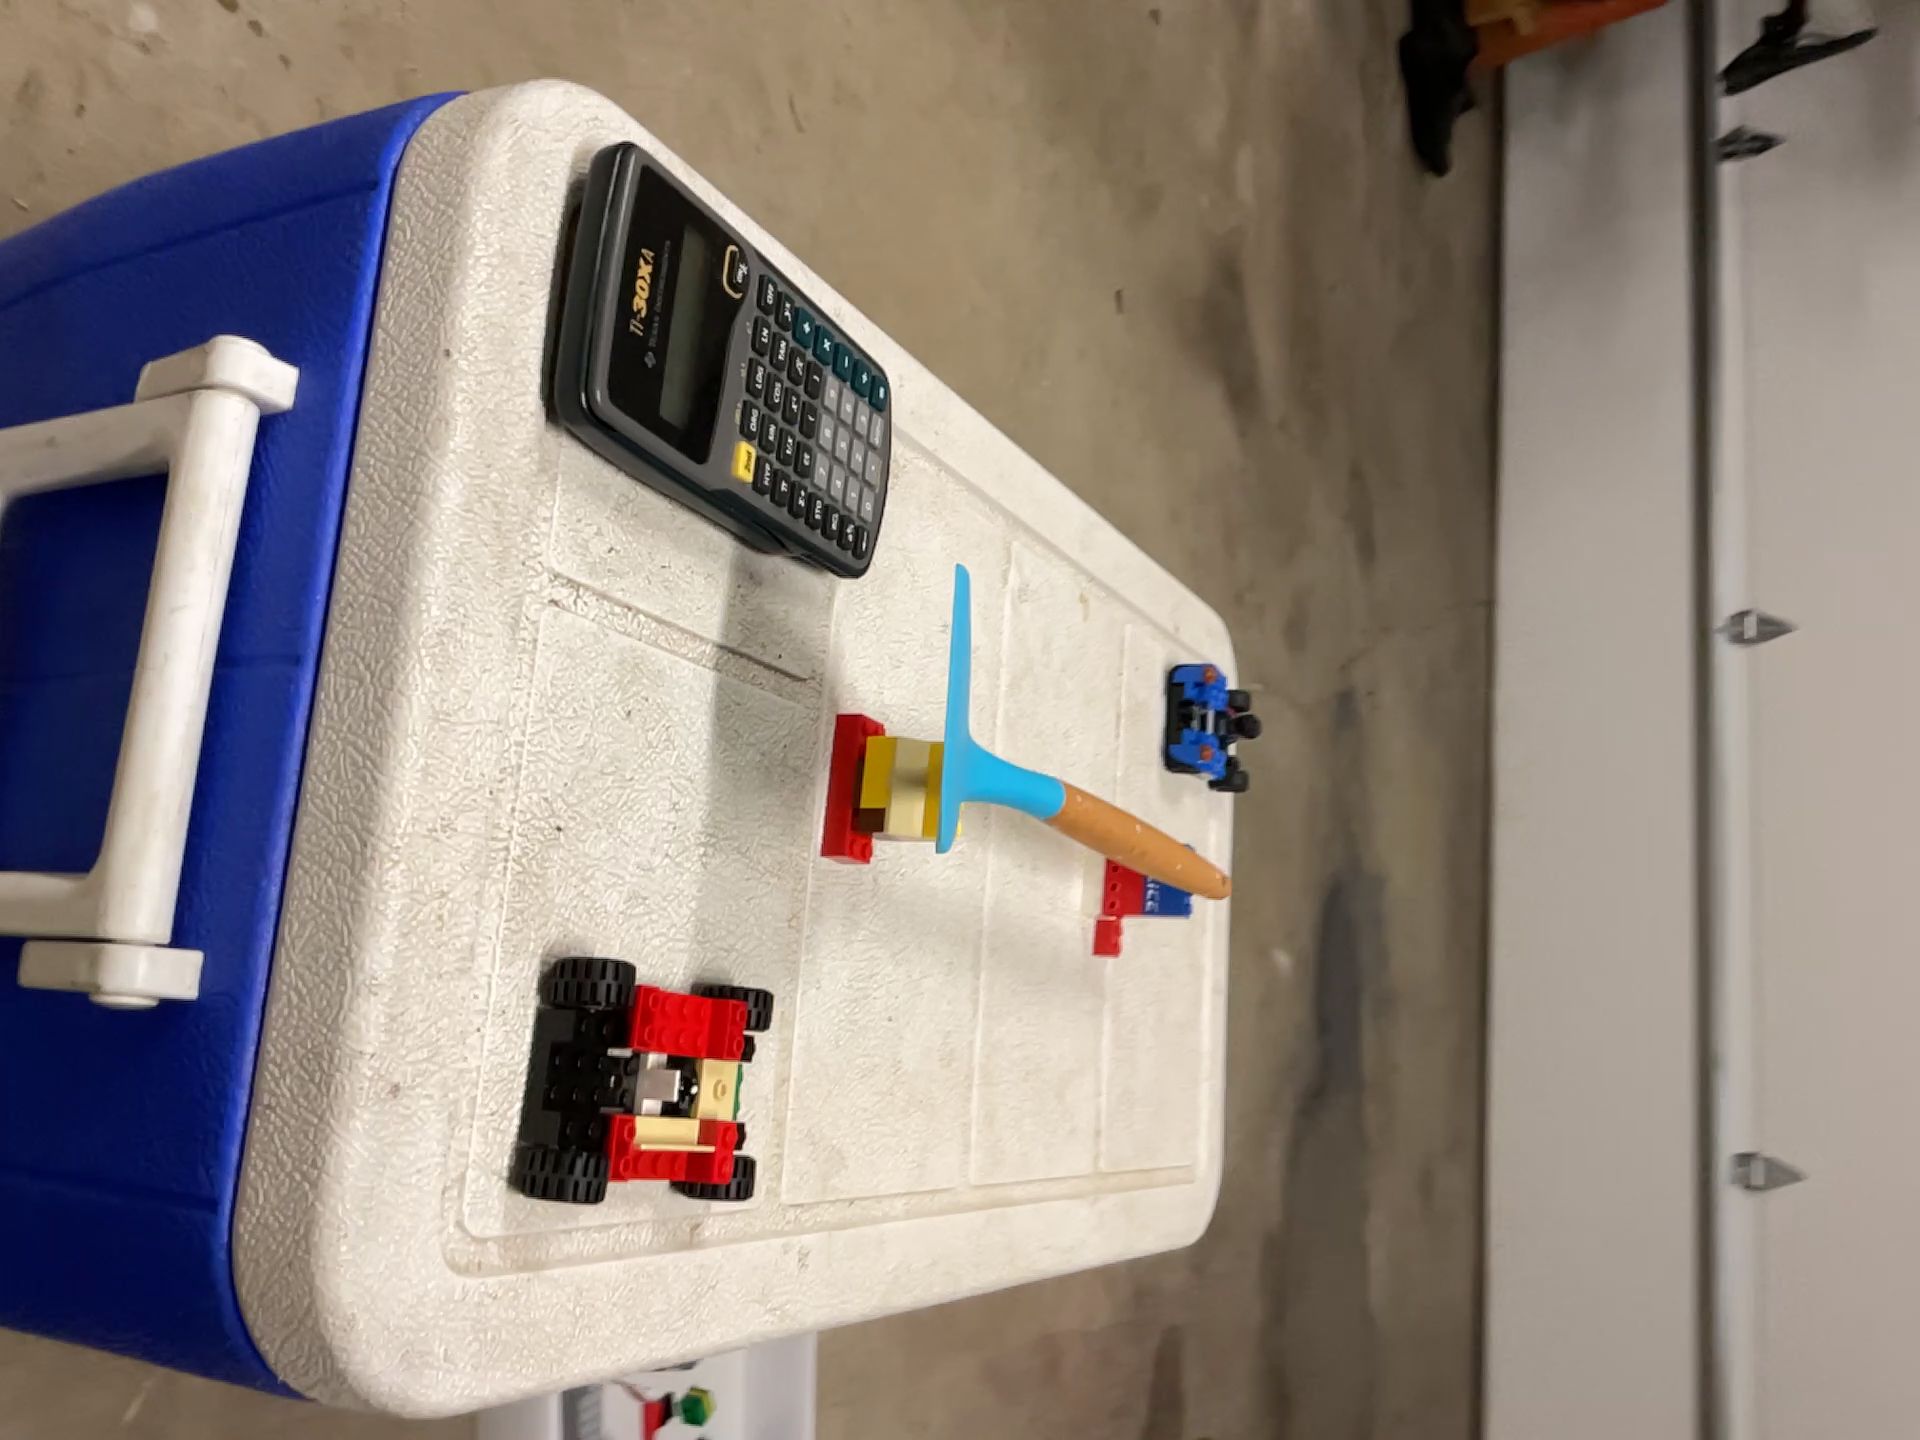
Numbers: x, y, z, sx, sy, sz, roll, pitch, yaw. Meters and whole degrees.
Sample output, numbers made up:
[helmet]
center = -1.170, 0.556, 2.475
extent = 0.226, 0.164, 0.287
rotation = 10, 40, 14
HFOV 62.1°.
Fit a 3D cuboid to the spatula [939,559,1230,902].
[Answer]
[spatula]
center = 0.050, 0.034, 0.560
extent = 0.317, 0.044, 0.082
rotation = 29, 61, -59
